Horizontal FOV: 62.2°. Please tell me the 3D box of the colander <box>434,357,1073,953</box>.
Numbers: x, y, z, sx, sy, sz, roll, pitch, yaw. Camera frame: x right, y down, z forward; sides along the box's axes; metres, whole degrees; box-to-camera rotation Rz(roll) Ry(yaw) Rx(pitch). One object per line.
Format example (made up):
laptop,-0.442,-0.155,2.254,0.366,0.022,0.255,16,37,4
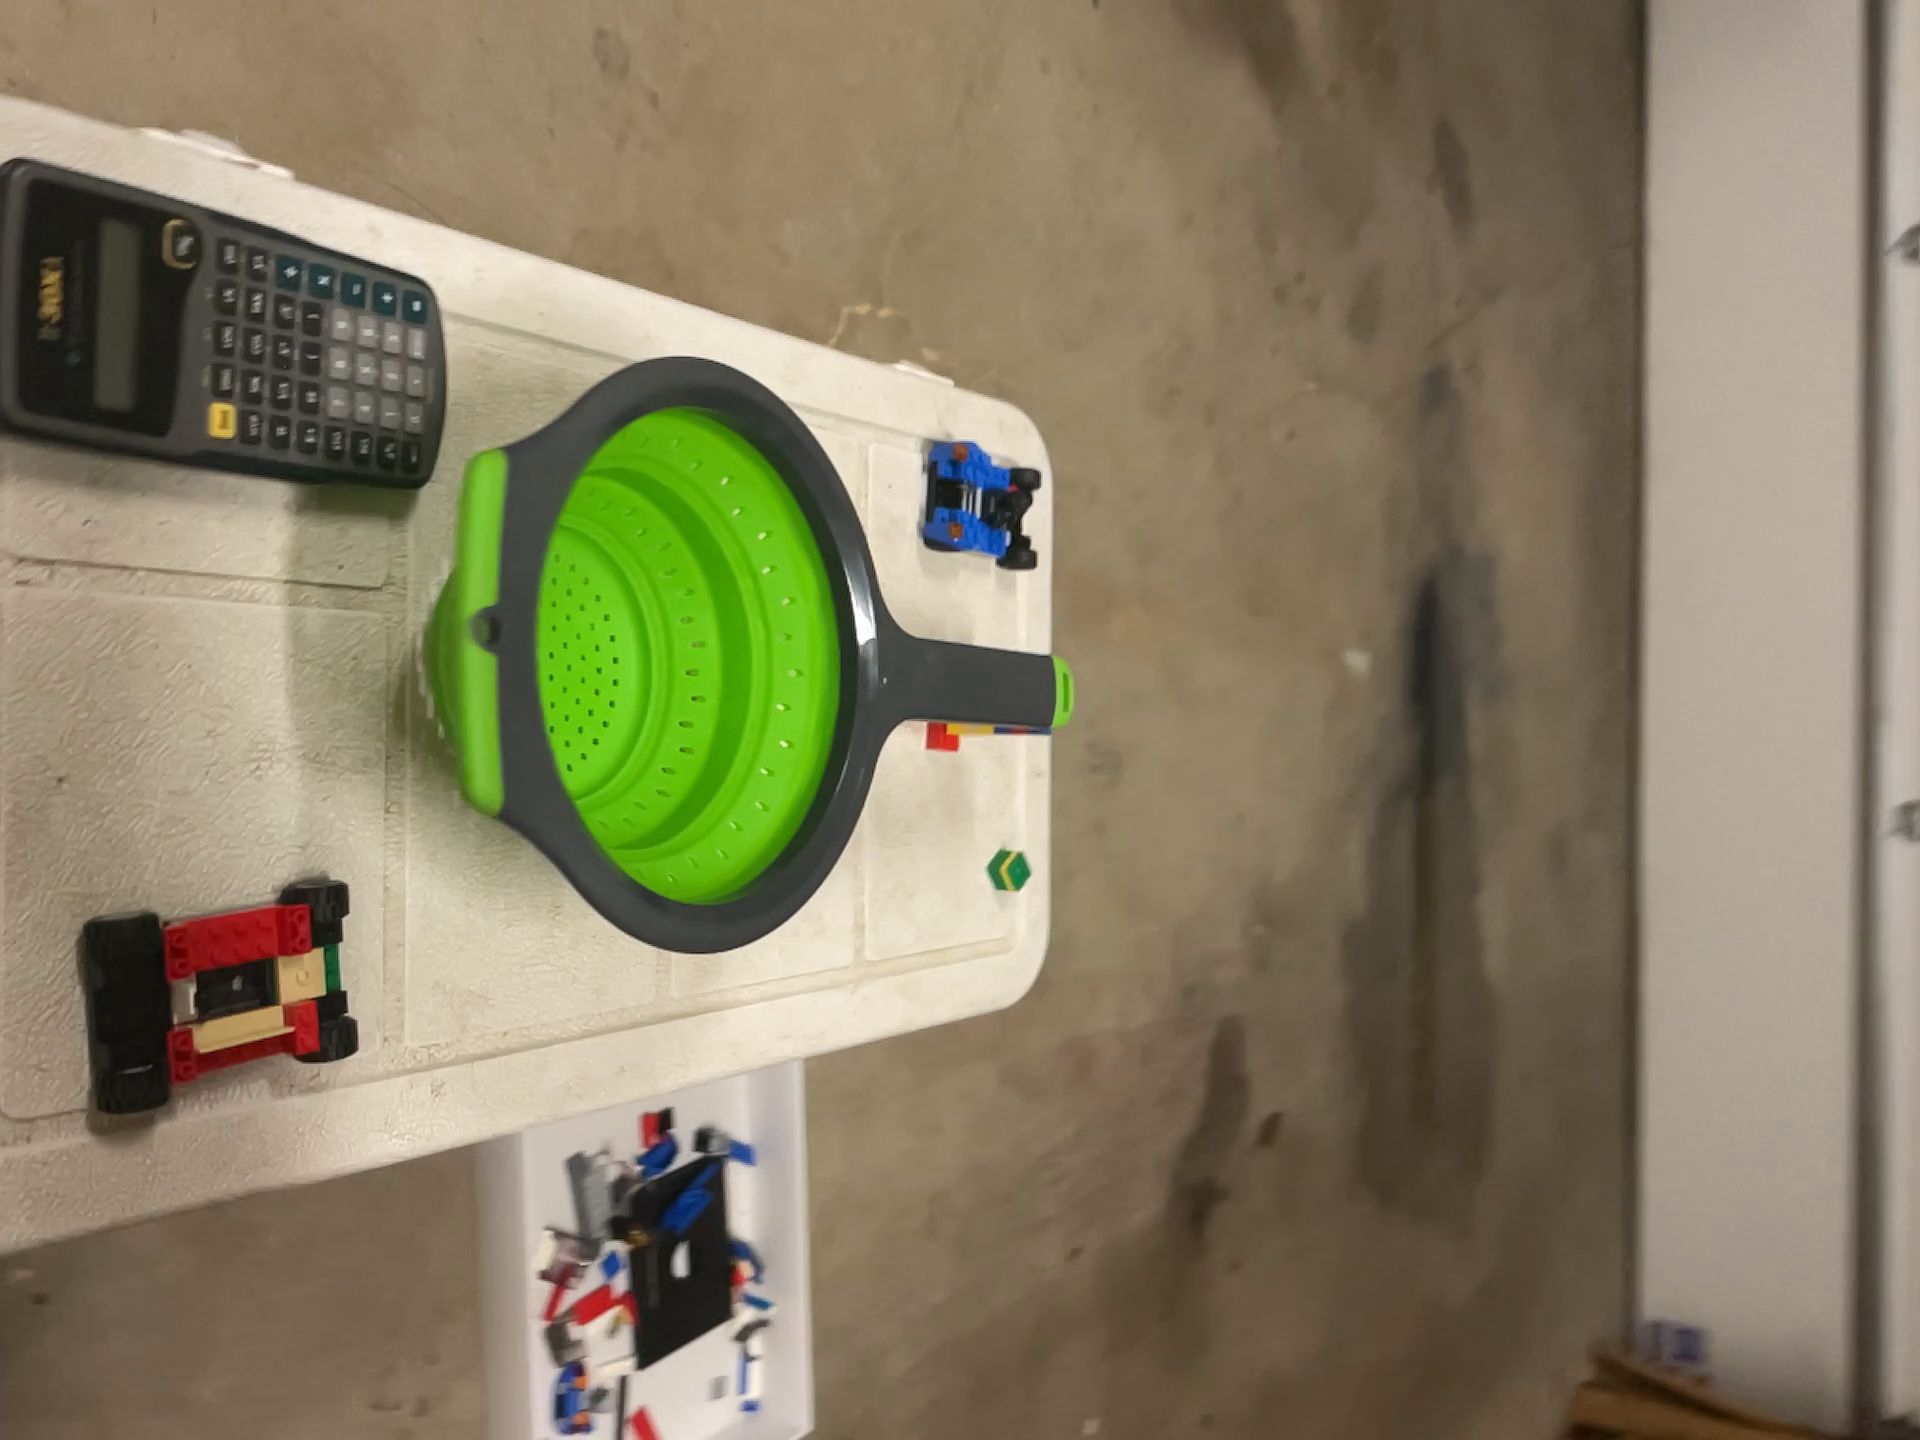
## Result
colander,-0.076,-0.018,0.644,0.397,0.094,0.204,5,83,-59
